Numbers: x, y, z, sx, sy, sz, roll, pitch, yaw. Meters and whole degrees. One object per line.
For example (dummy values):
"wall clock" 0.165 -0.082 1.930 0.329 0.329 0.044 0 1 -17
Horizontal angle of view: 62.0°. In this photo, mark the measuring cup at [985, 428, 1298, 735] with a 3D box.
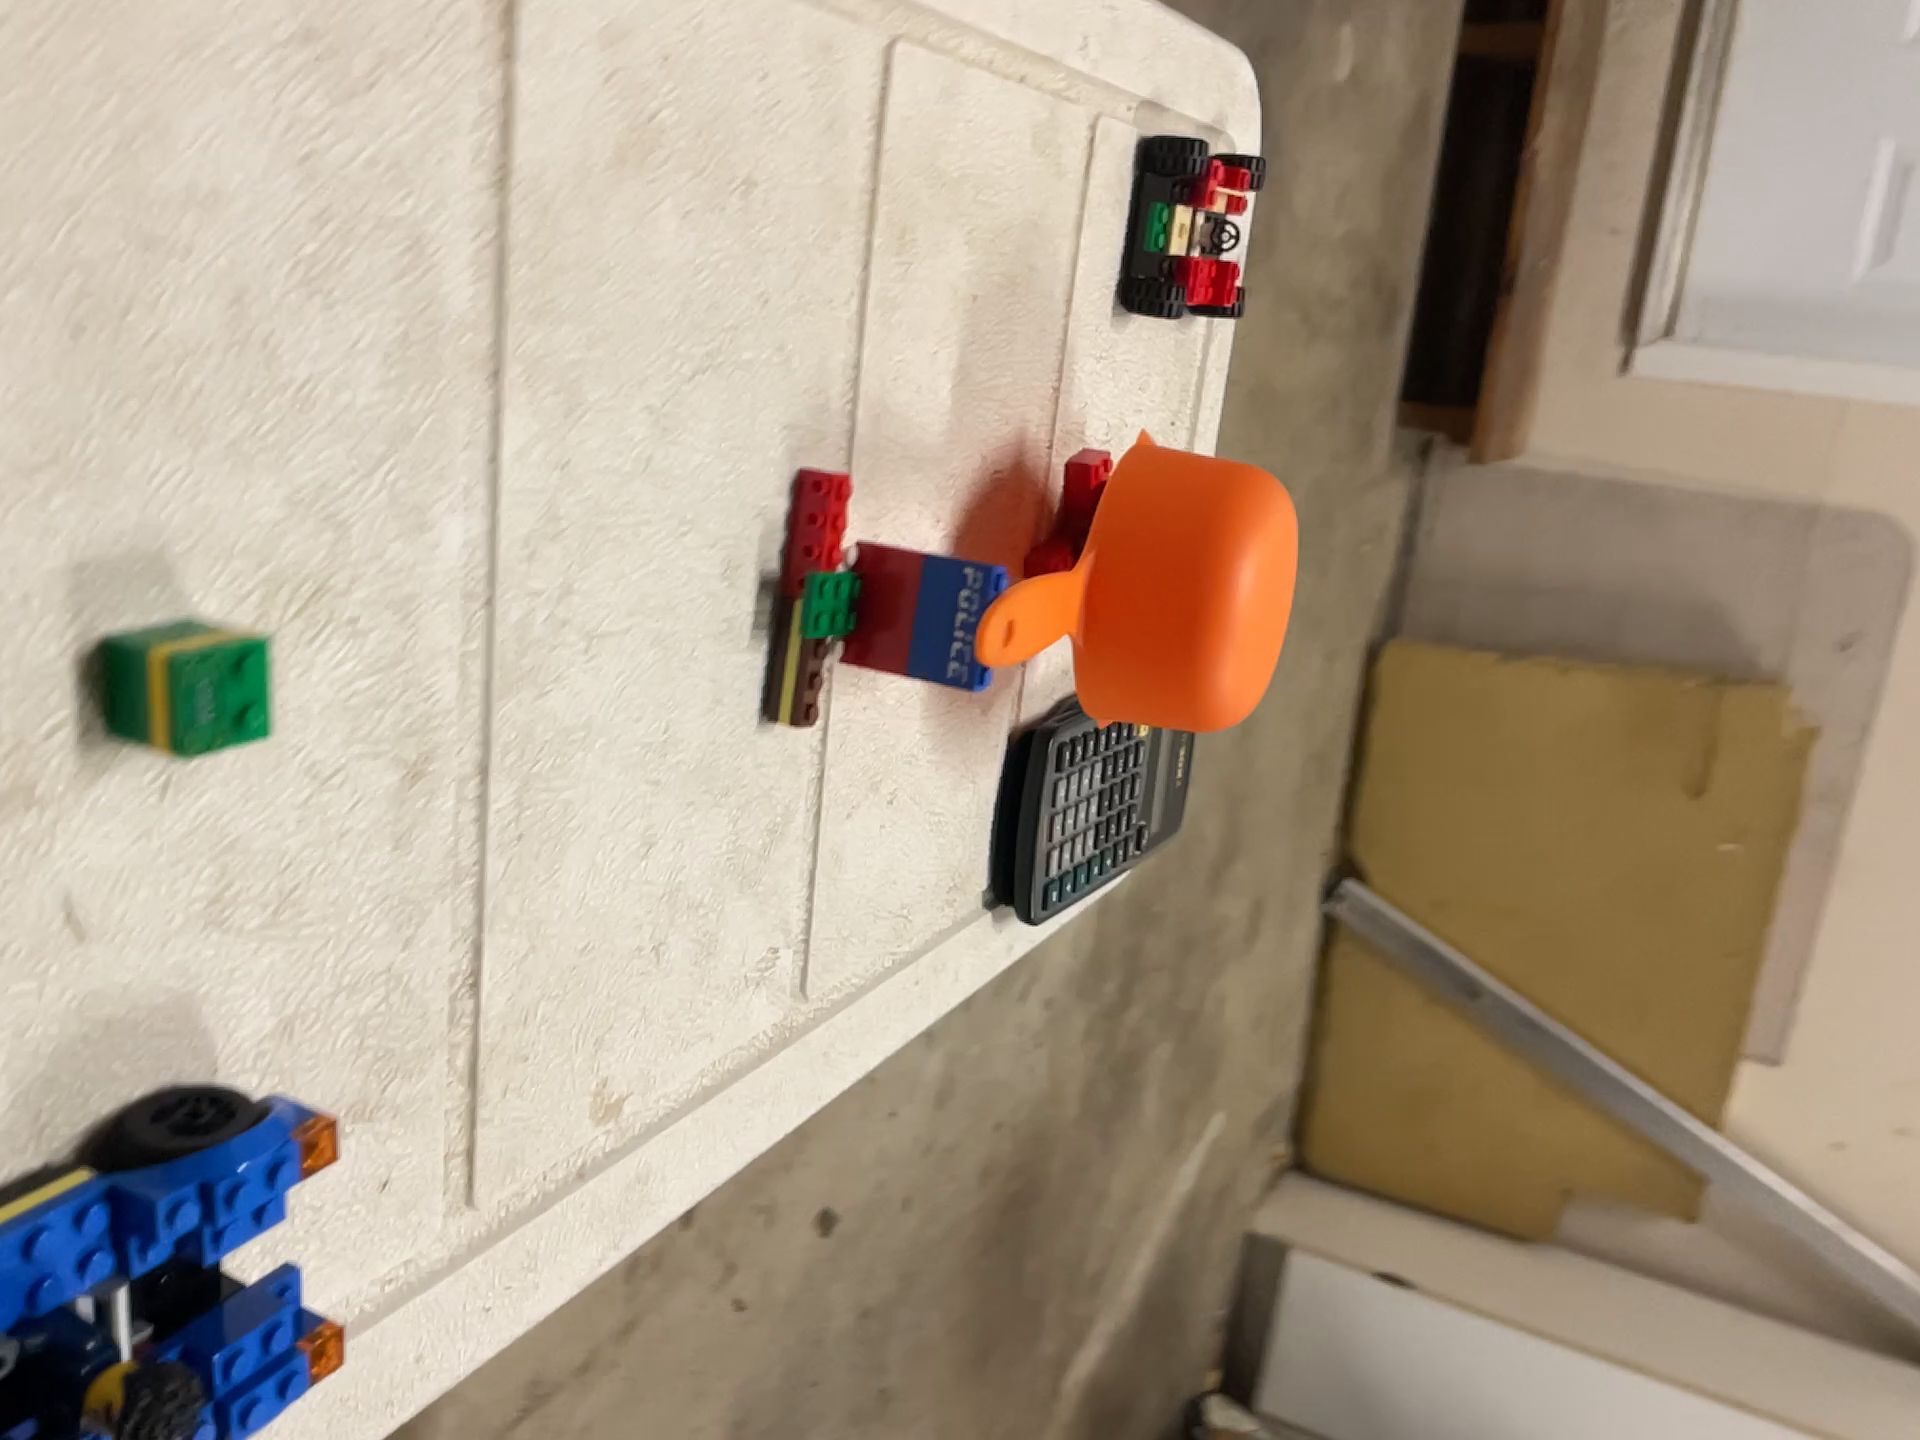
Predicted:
"measuring cup" 0.057 -0.032 0.454 0.173 0.052 0.095 -27 126 -67
